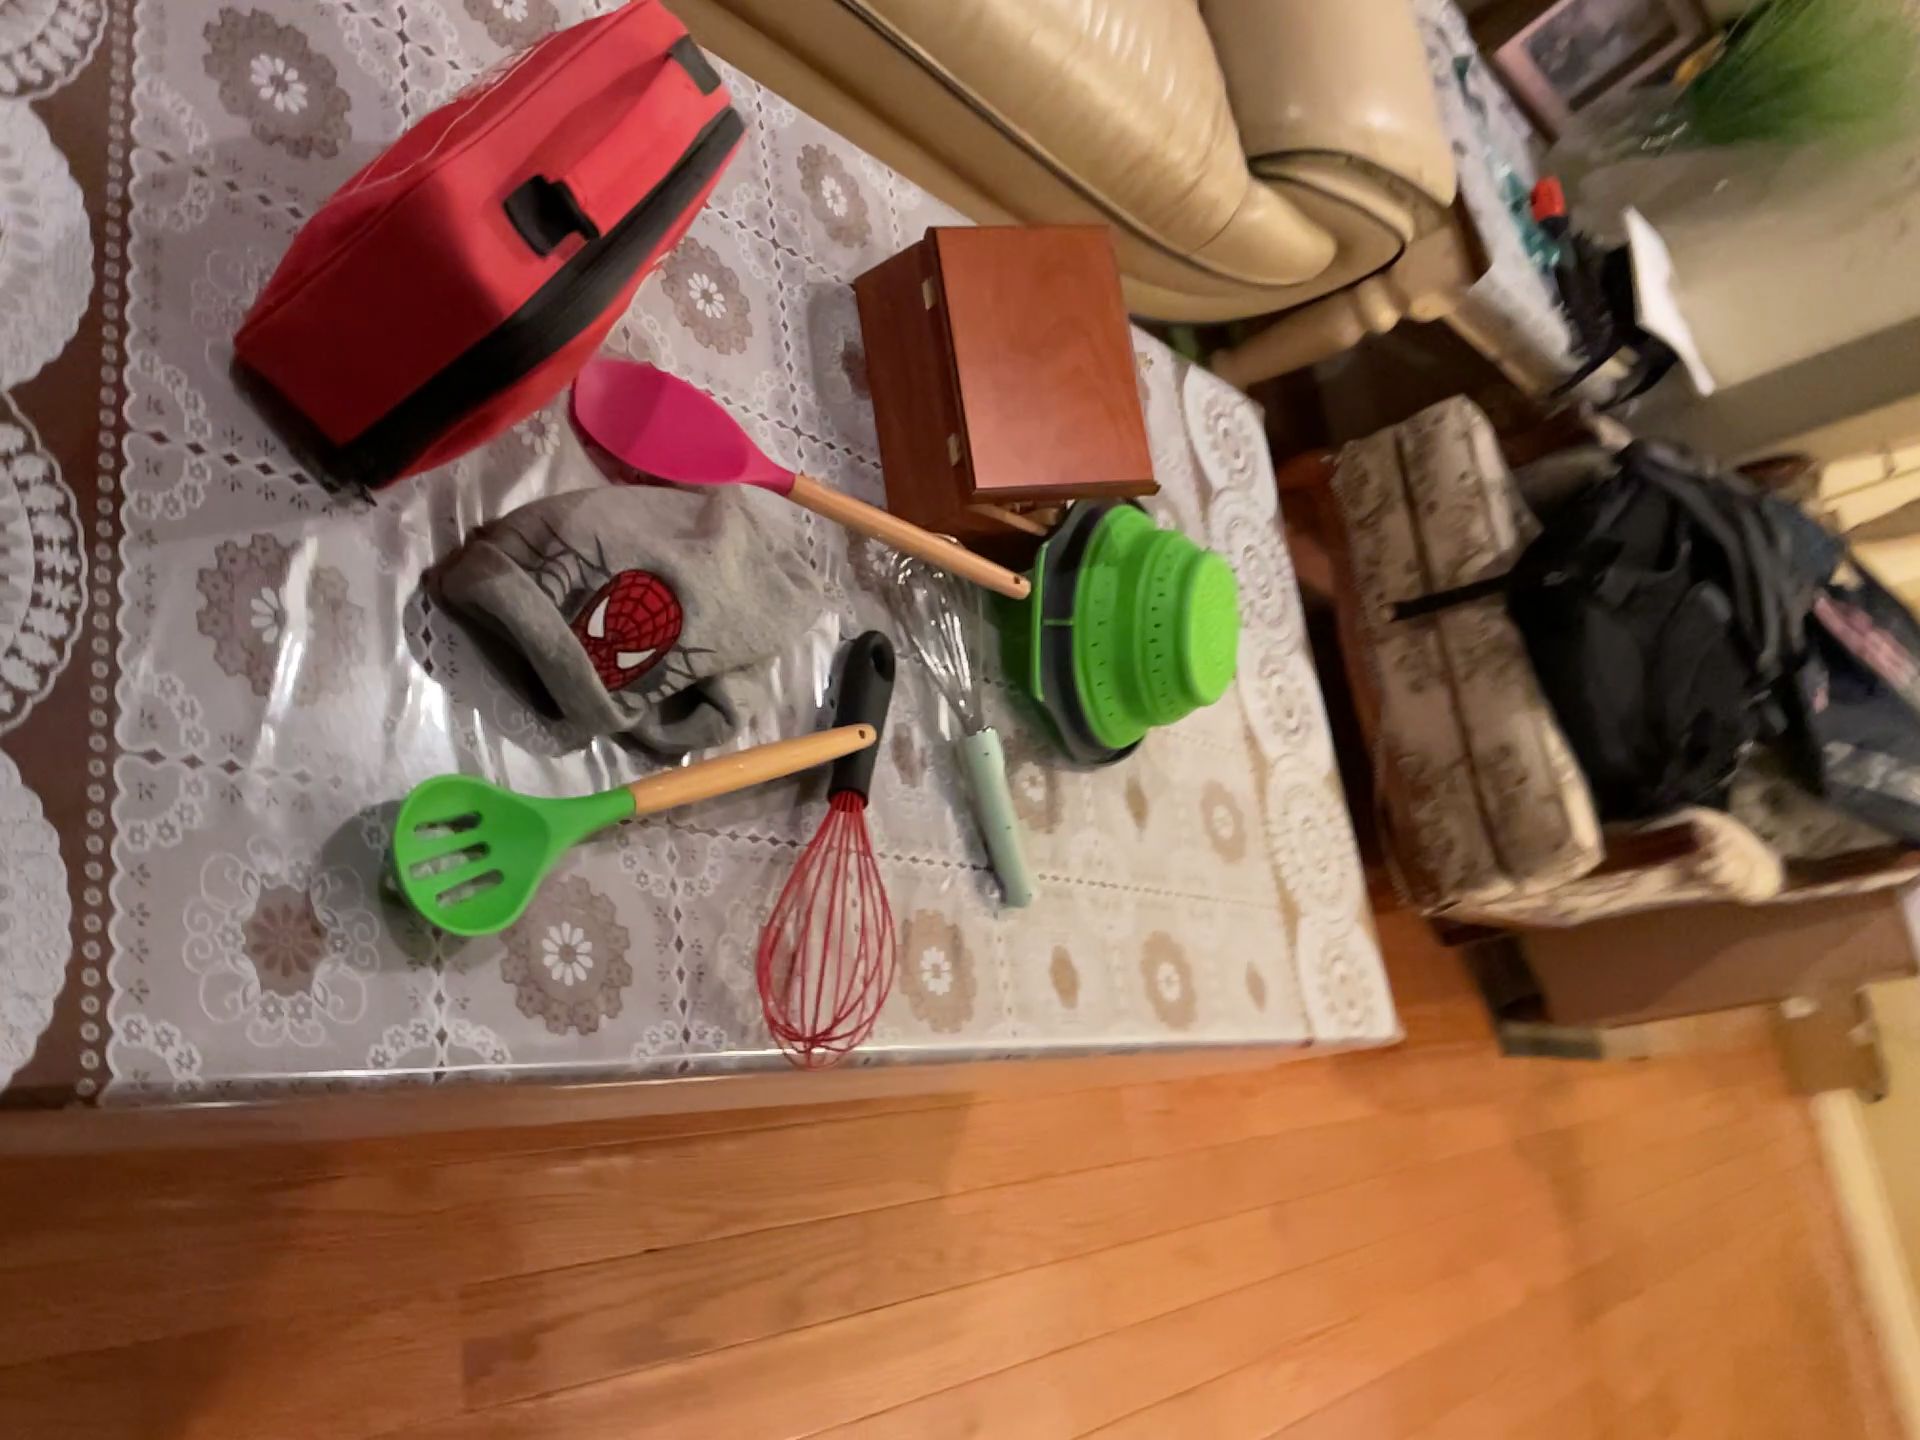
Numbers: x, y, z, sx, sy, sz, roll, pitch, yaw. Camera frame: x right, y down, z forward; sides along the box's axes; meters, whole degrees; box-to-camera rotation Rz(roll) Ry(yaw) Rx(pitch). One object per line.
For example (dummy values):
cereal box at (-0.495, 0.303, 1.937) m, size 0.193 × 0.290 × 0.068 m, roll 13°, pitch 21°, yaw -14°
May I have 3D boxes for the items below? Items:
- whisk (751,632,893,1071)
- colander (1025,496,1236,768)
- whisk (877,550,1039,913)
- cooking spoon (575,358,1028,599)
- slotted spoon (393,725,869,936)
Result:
whisk at (-0.063, 0.058, 0.865) m, size 0.073 × 0.073 × 0.296 m, roll 38°, pitch 38°, yaw -30°
colander at (0.174, -0.066, 1.193) m, size 0.397 × 0.094 × 0.204 m, roll -1°, pitch 93°, yaw -62°
whisk at (0.003, 0.004, 1.005) m, size 0.058 × 0.059 × 0.246 m, roll -18°, pitch 90°, yaw -15°
cooking spoon at (-0.080, -0.127, 0.919) m, size 0.318 × 0.017 × 0.069 m, roll 20°, pitch 58°, yaw -36°
slotted spoon at (-0.143, 0.037, 0.764) m, size 0.313 × 0.031 × 0.070 m, roll -17°, pitch 87°, yaw -54°
